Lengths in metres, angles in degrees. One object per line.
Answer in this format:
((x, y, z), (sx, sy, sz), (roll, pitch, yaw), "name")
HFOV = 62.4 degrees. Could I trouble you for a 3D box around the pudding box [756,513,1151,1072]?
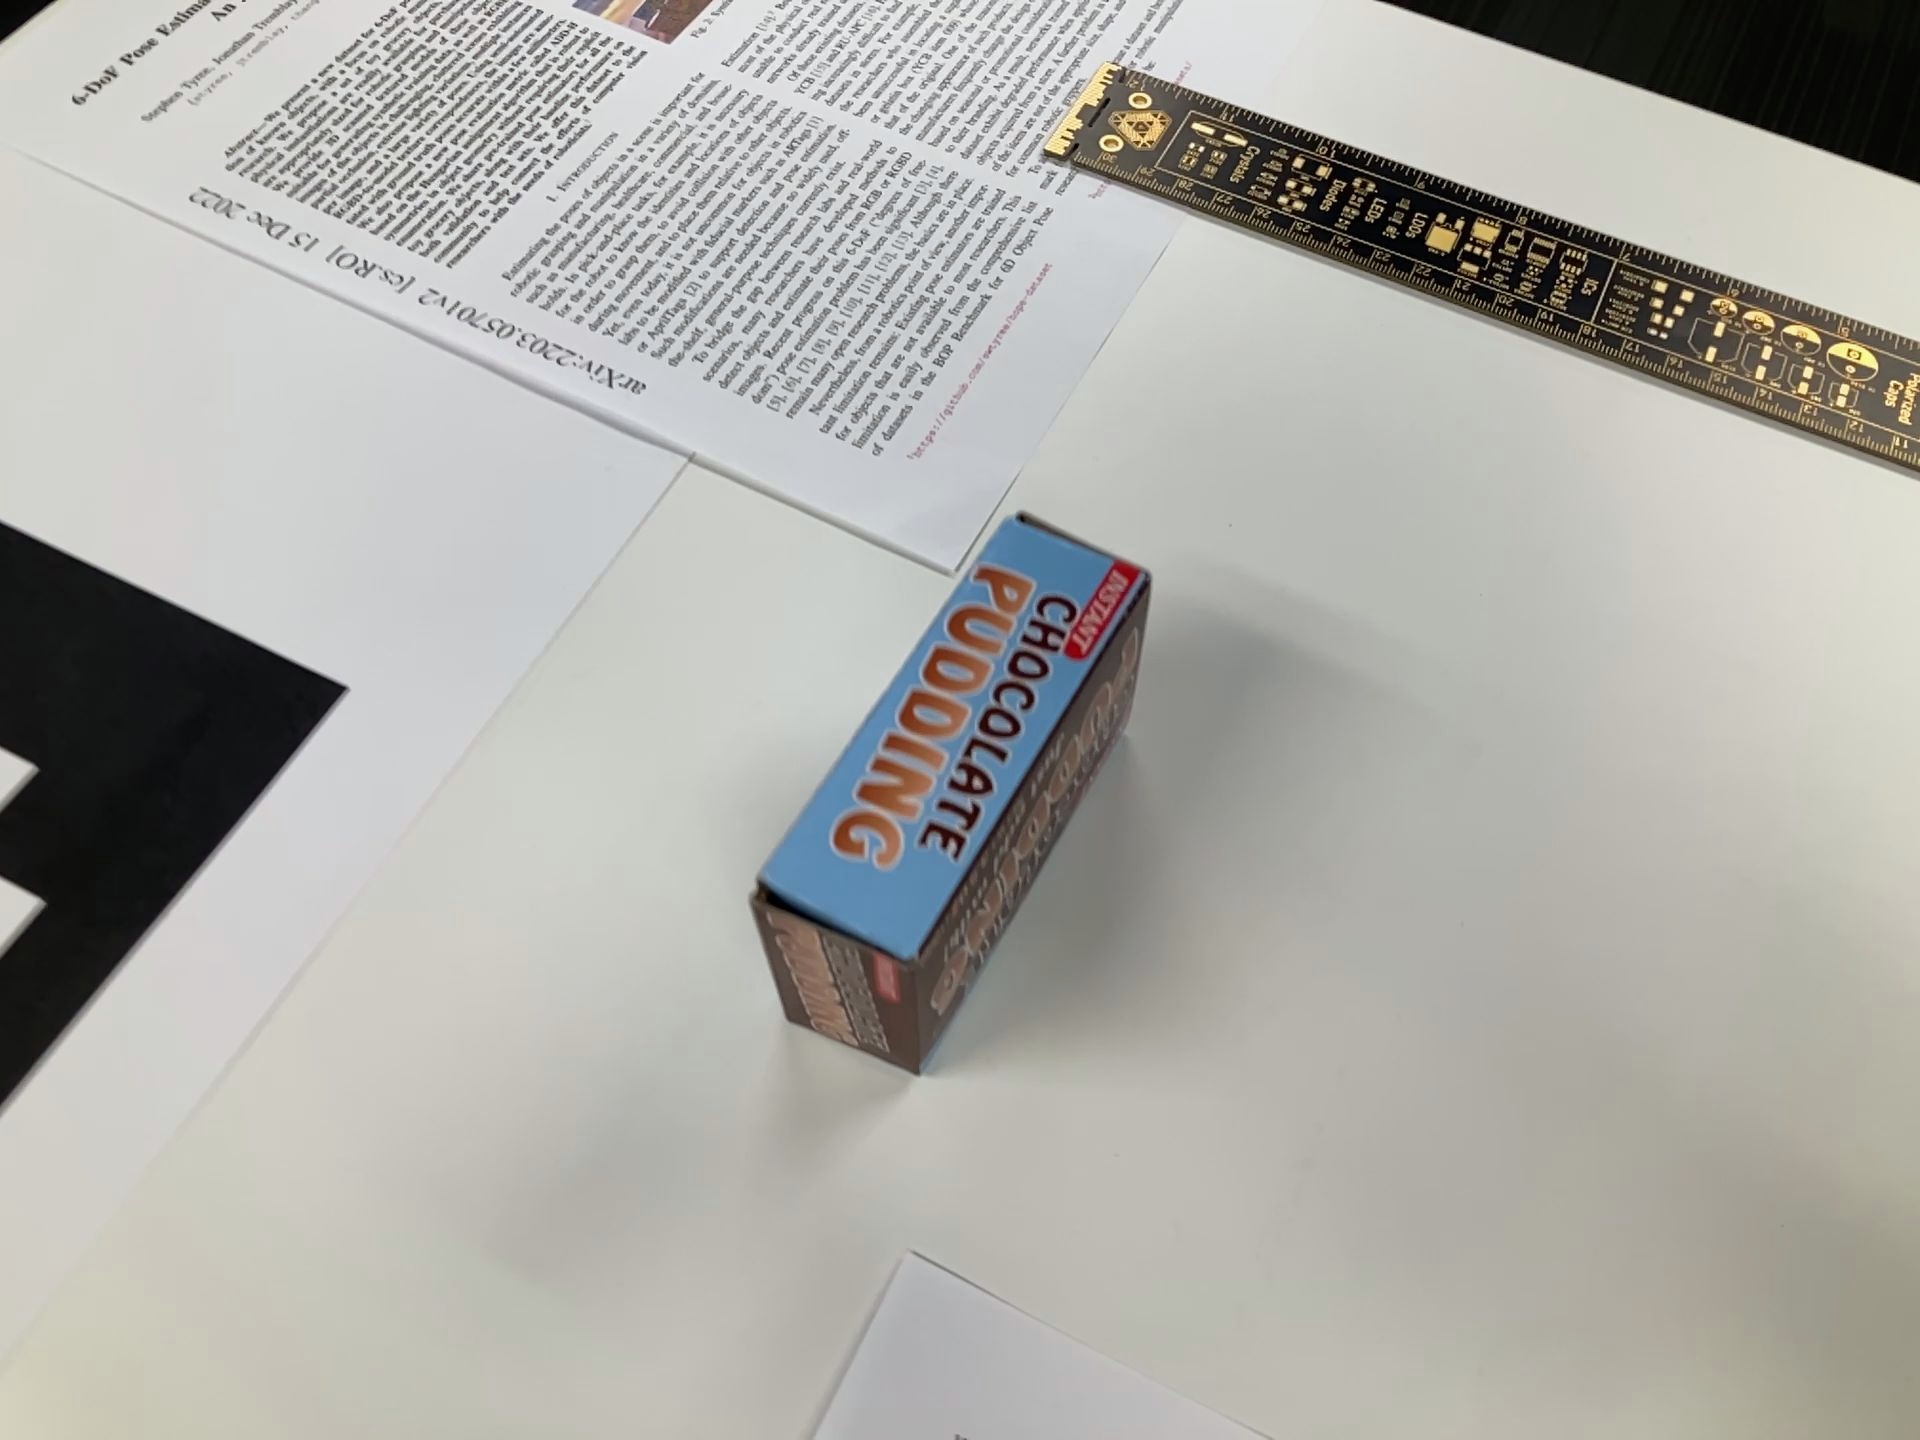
((0.001, 0.012, 0.272), (0.030, 0.049, 0.083), (25, 61, 15), "pudding box")
